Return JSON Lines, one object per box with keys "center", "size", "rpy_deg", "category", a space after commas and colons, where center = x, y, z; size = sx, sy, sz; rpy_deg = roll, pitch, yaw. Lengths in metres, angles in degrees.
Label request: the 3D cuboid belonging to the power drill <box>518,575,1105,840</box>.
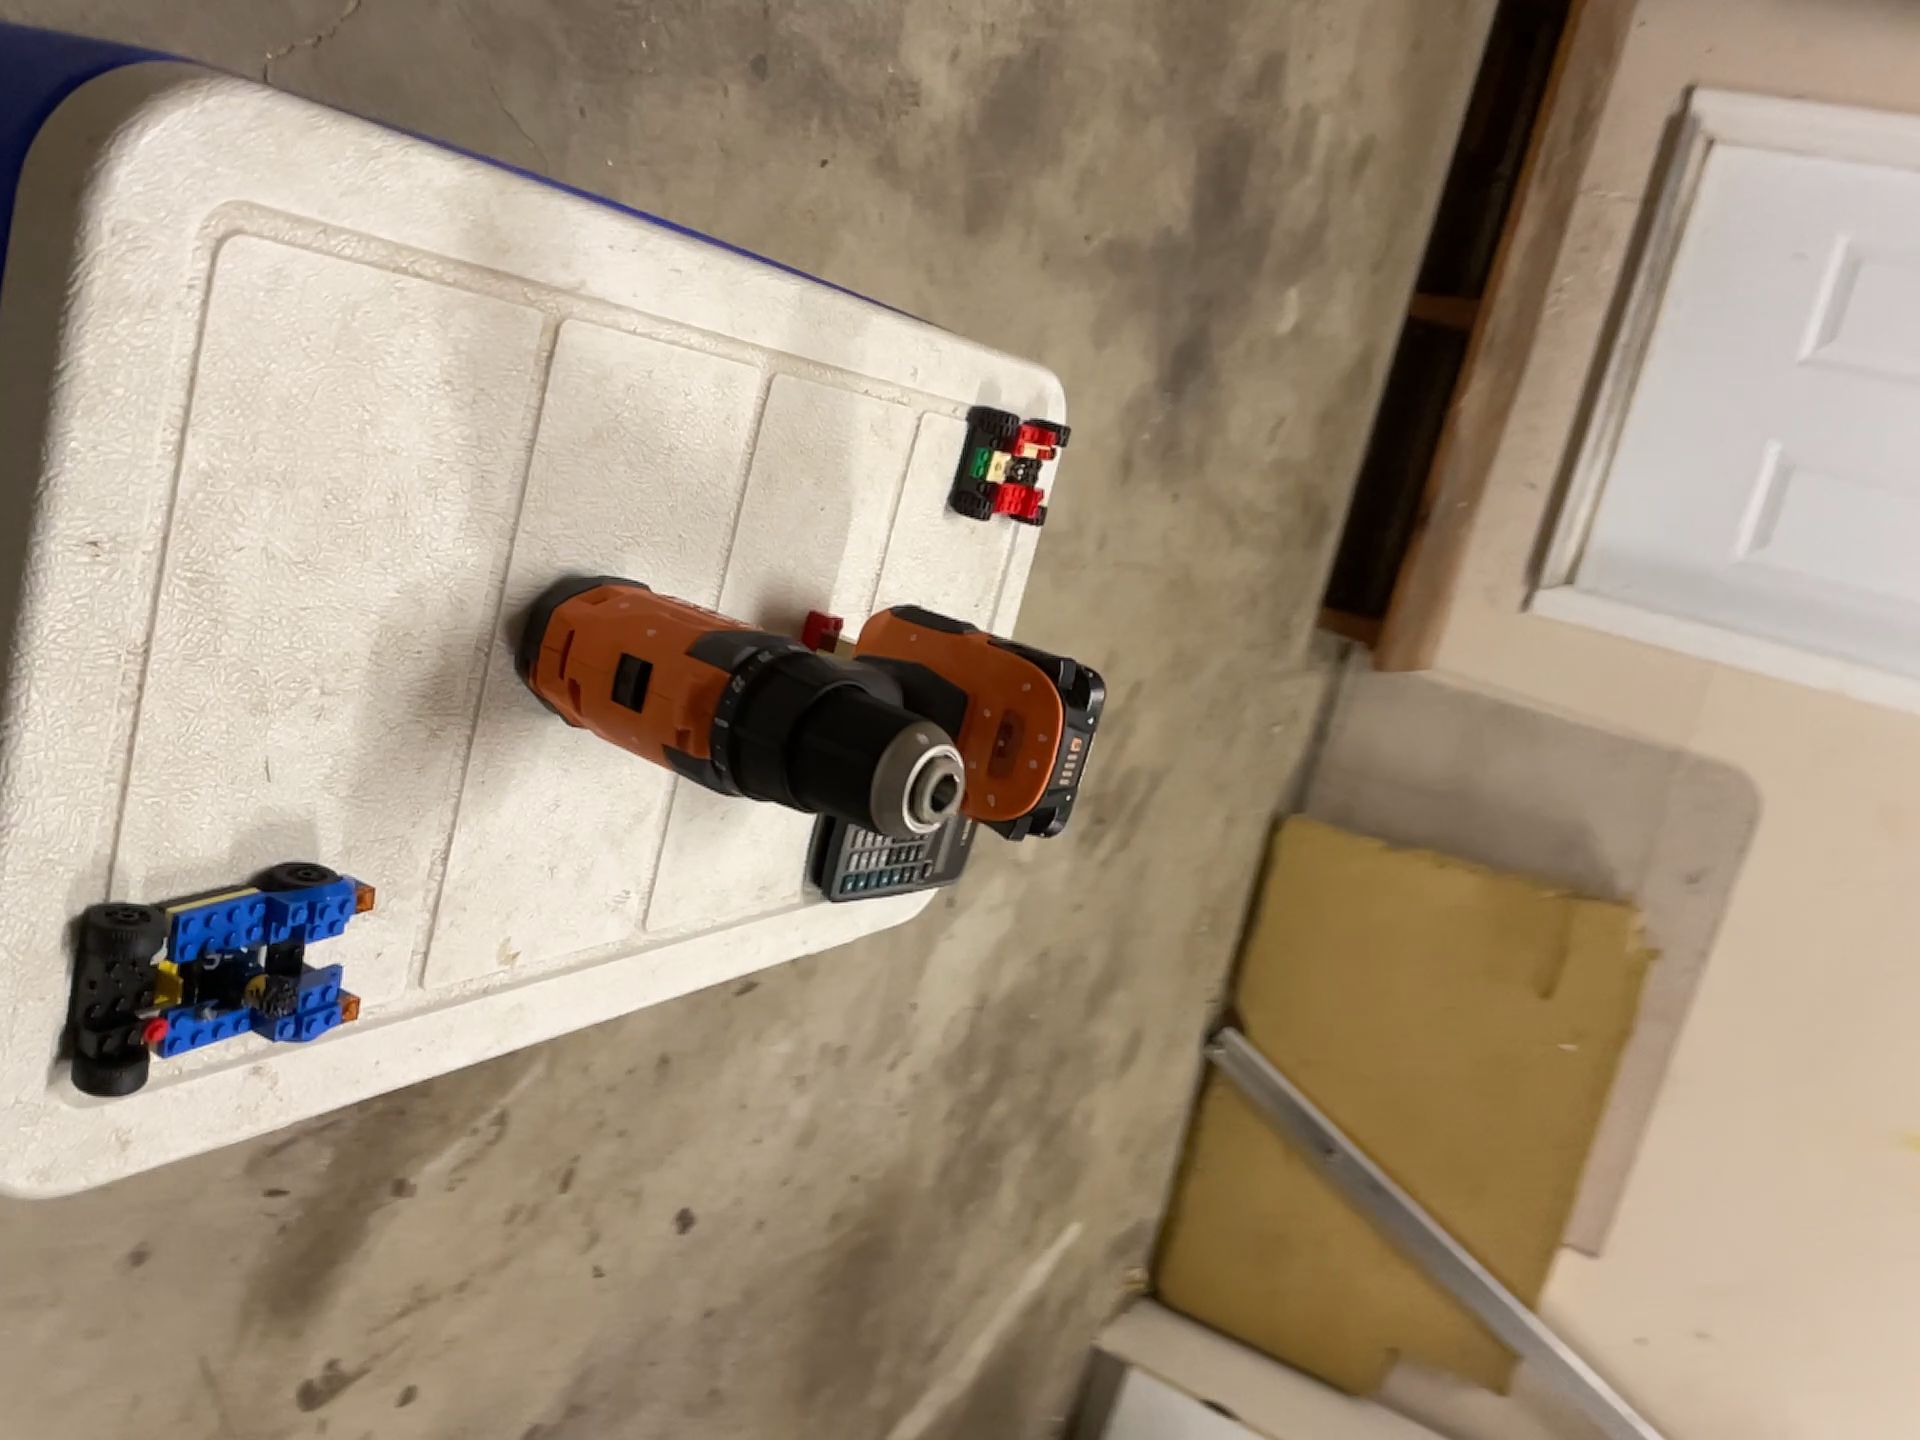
{"center": [-0.030, 0.001, 0.627], "size": [0.226, 0.185, 0.084], "rpy_deg": [6, 102, -54], "category": "power drill"}
